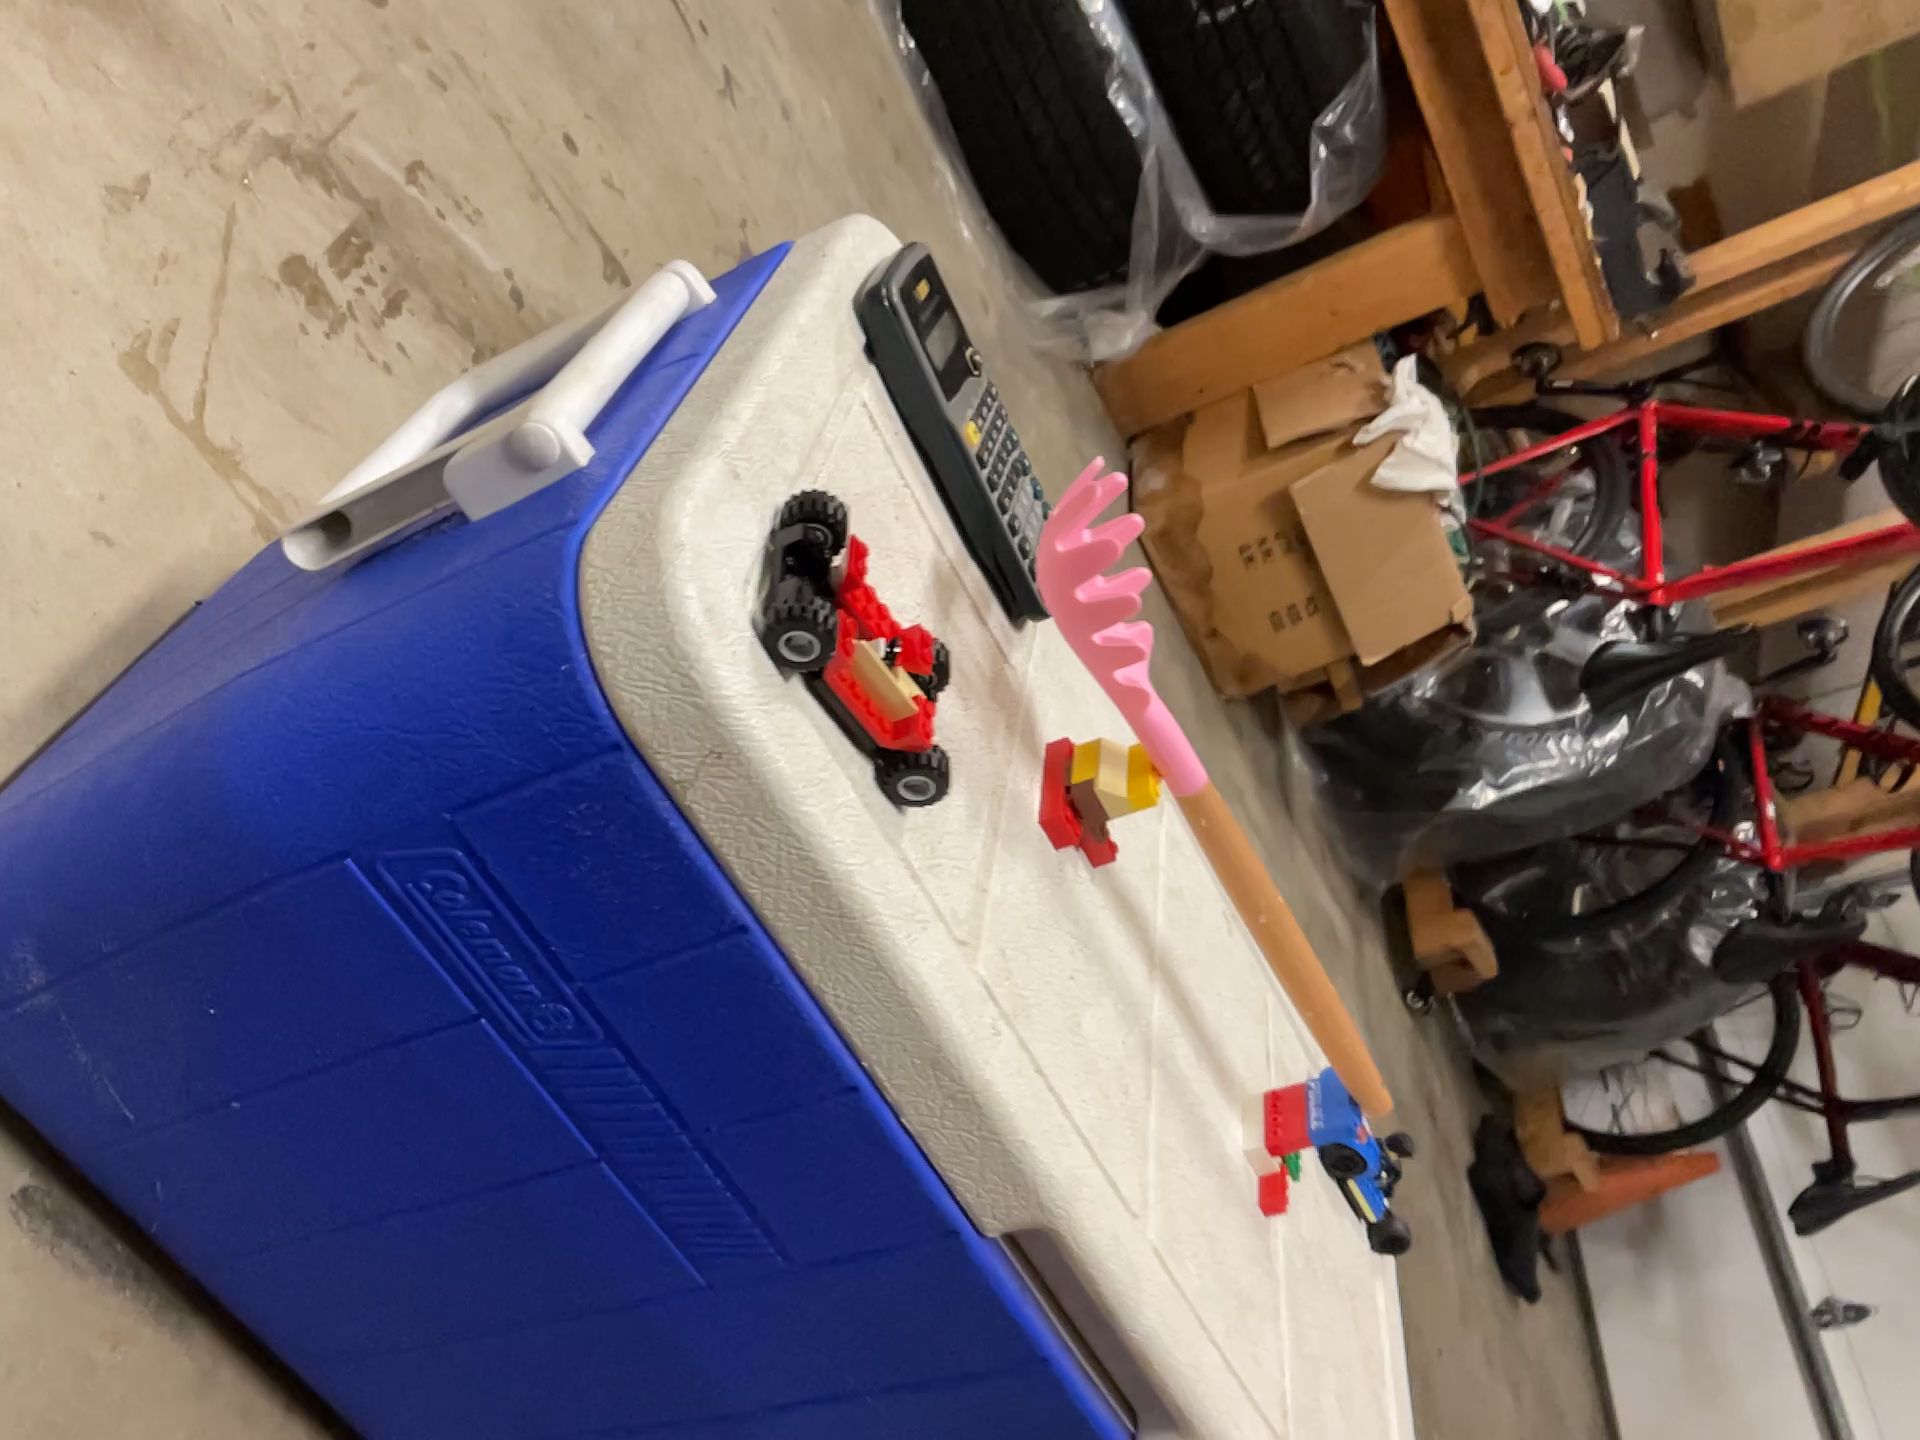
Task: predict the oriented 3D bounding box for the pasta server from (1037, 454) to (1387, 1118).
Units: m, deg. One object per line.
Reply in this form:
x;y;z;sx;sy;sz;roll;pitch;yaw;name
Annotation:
0.106;0.042;0.606;0.316;0.040;0.060;58;24;-26;pasta server
